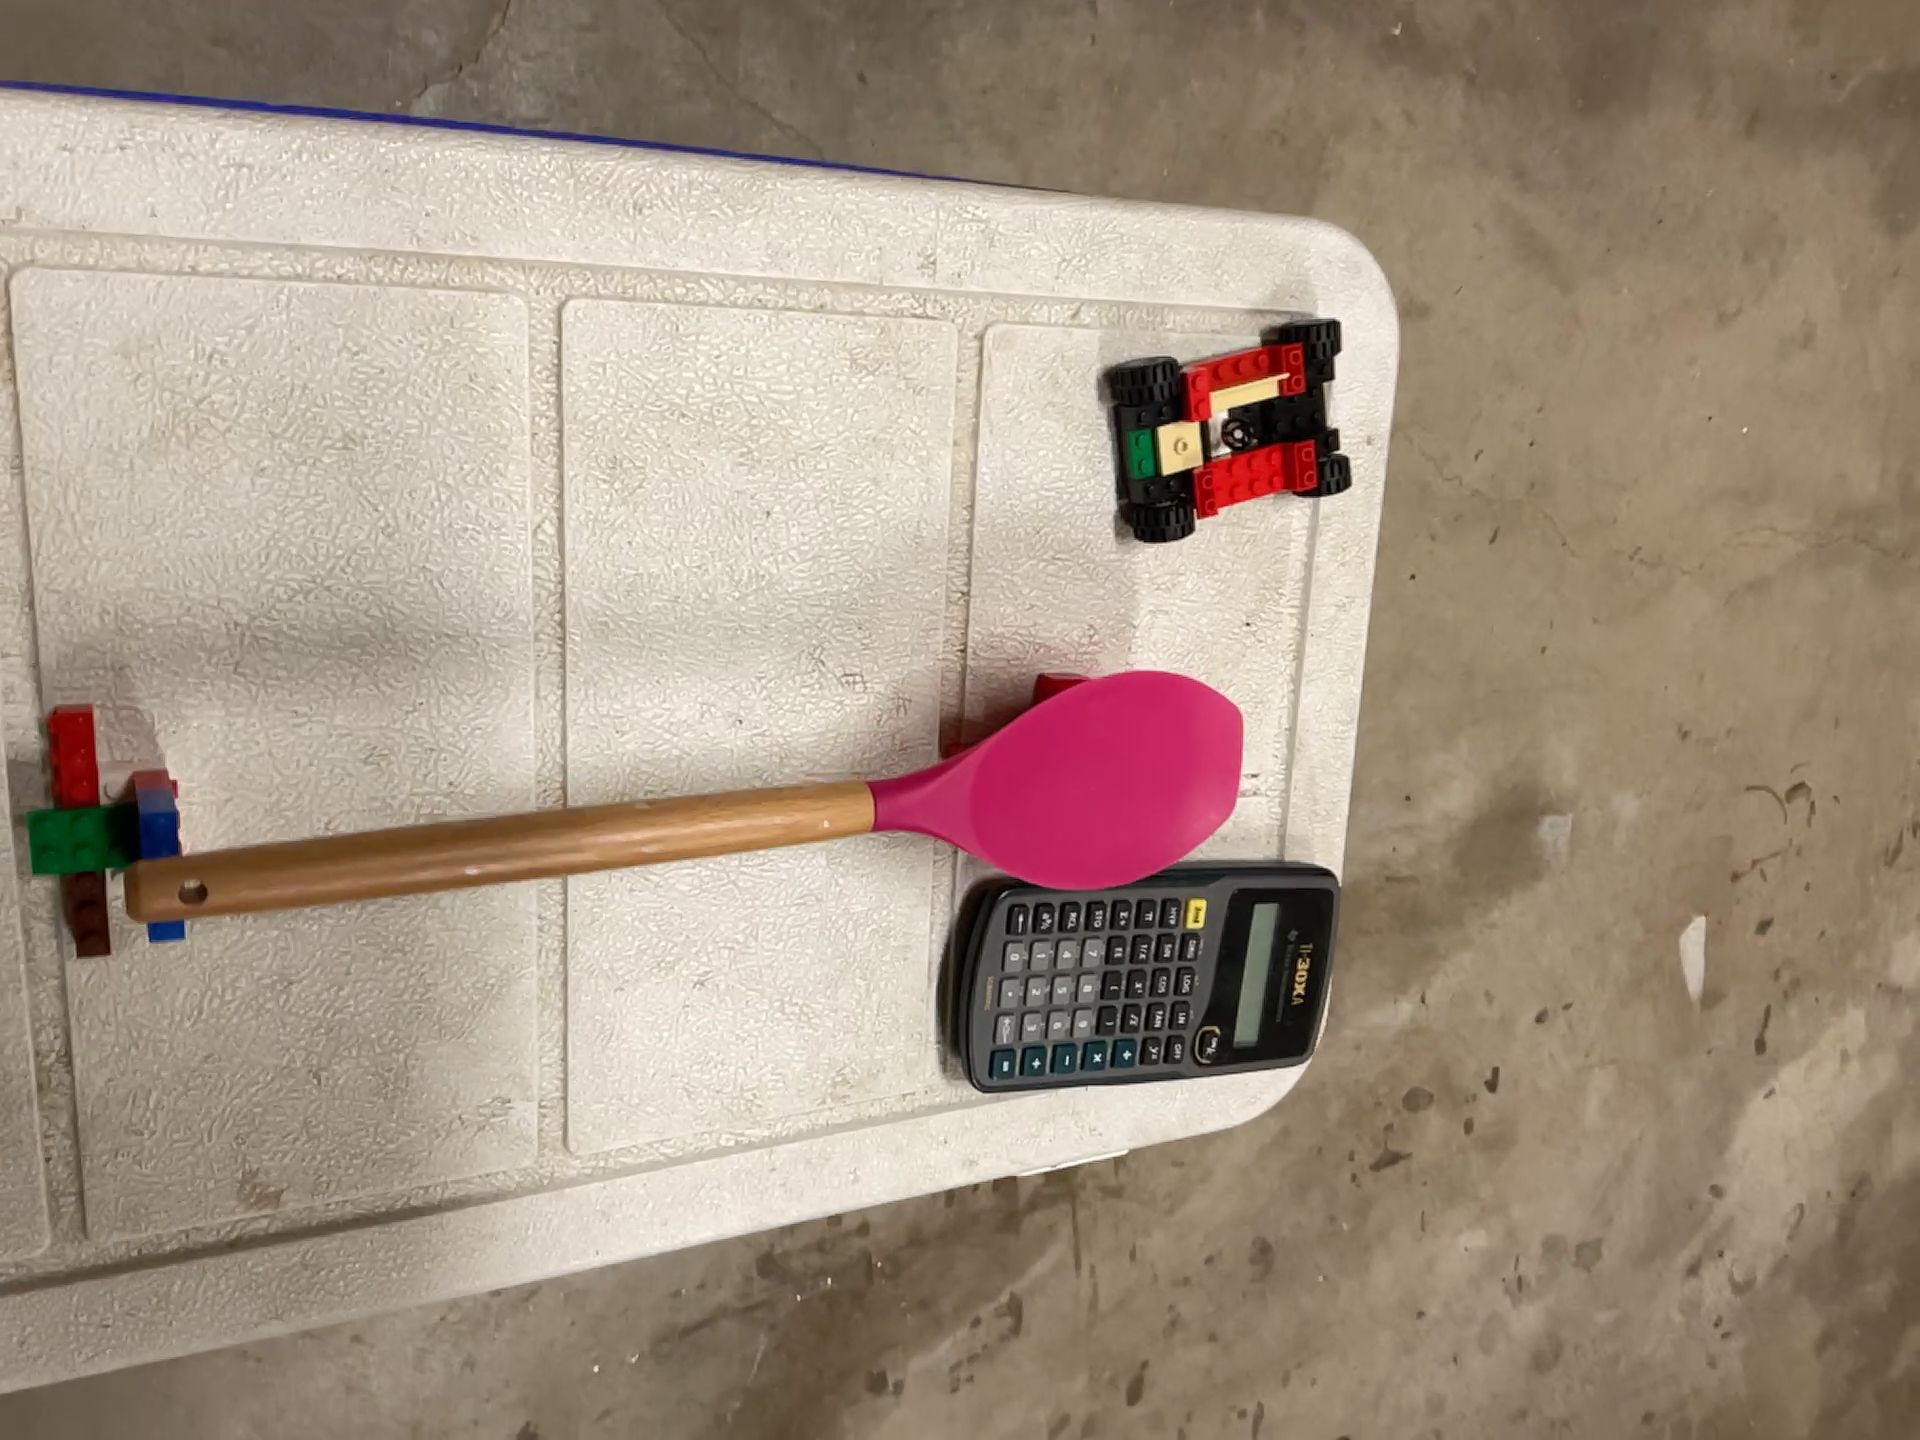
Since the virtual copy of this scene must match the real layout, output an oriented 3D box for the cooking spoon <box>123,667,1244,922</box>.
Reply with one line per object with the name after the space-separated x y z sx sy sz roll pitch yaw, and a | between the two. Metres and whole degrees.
-0.050 0.026 0.438 0.319 0.017 0.068 -5 105 -28 | cooking spoon
